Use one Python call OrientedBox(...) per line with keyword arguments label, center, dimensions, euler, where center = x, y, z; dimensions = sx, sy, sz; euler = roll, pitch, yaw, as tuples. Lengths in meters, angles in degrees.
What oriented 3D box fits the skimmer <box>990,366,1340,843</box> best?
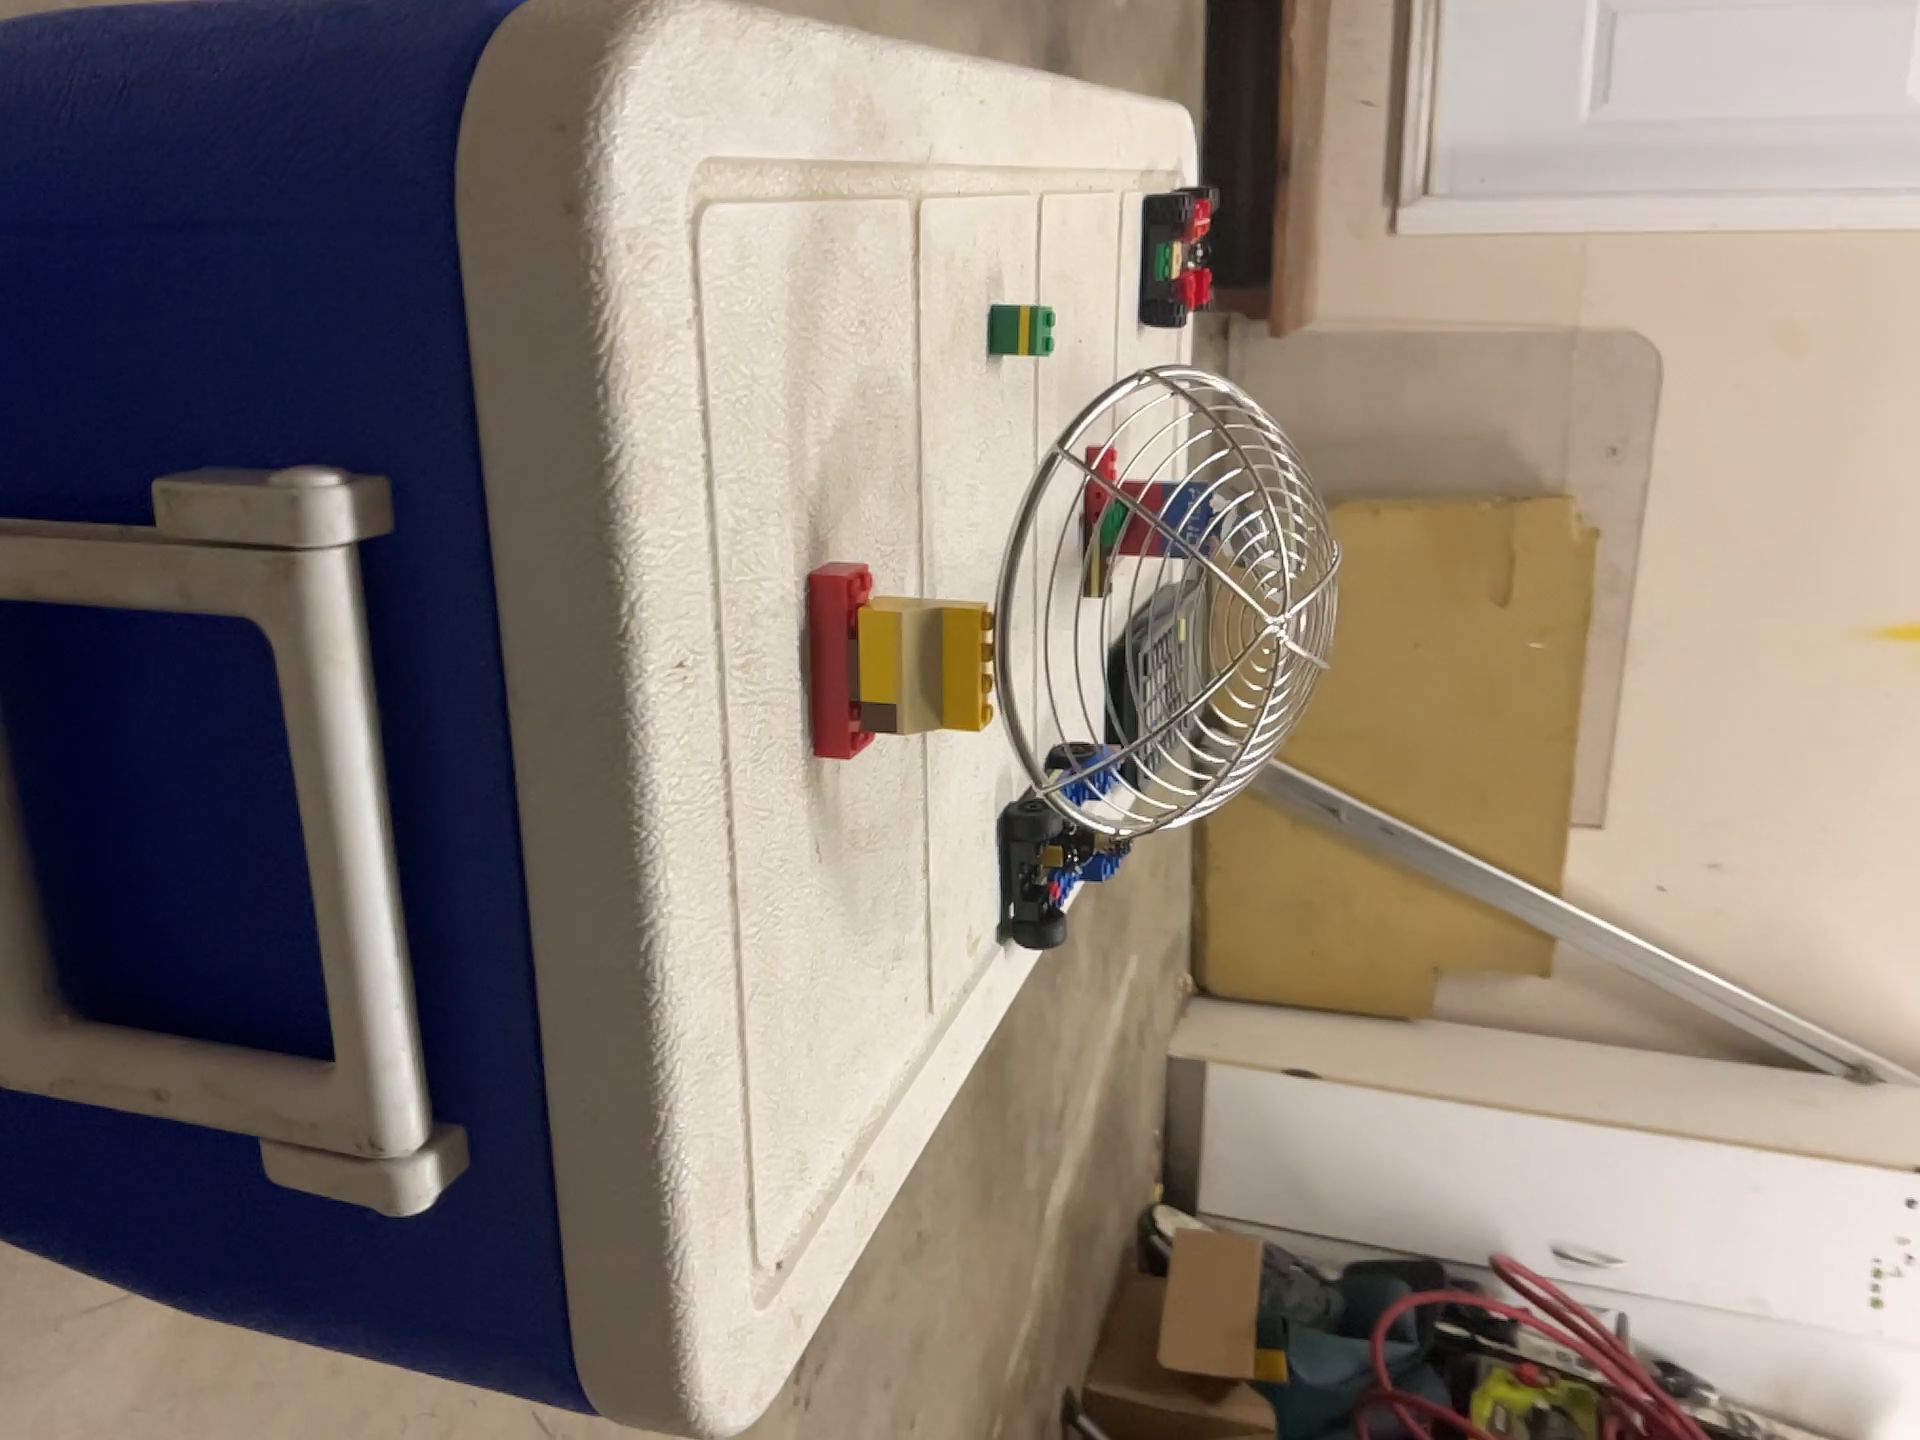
OrientedBox(label="skimmer", center=(0.071, -0.059, 0.556), dimensions=(0.363, 0.090, 0.127), euler=(-64, 155, -76))
